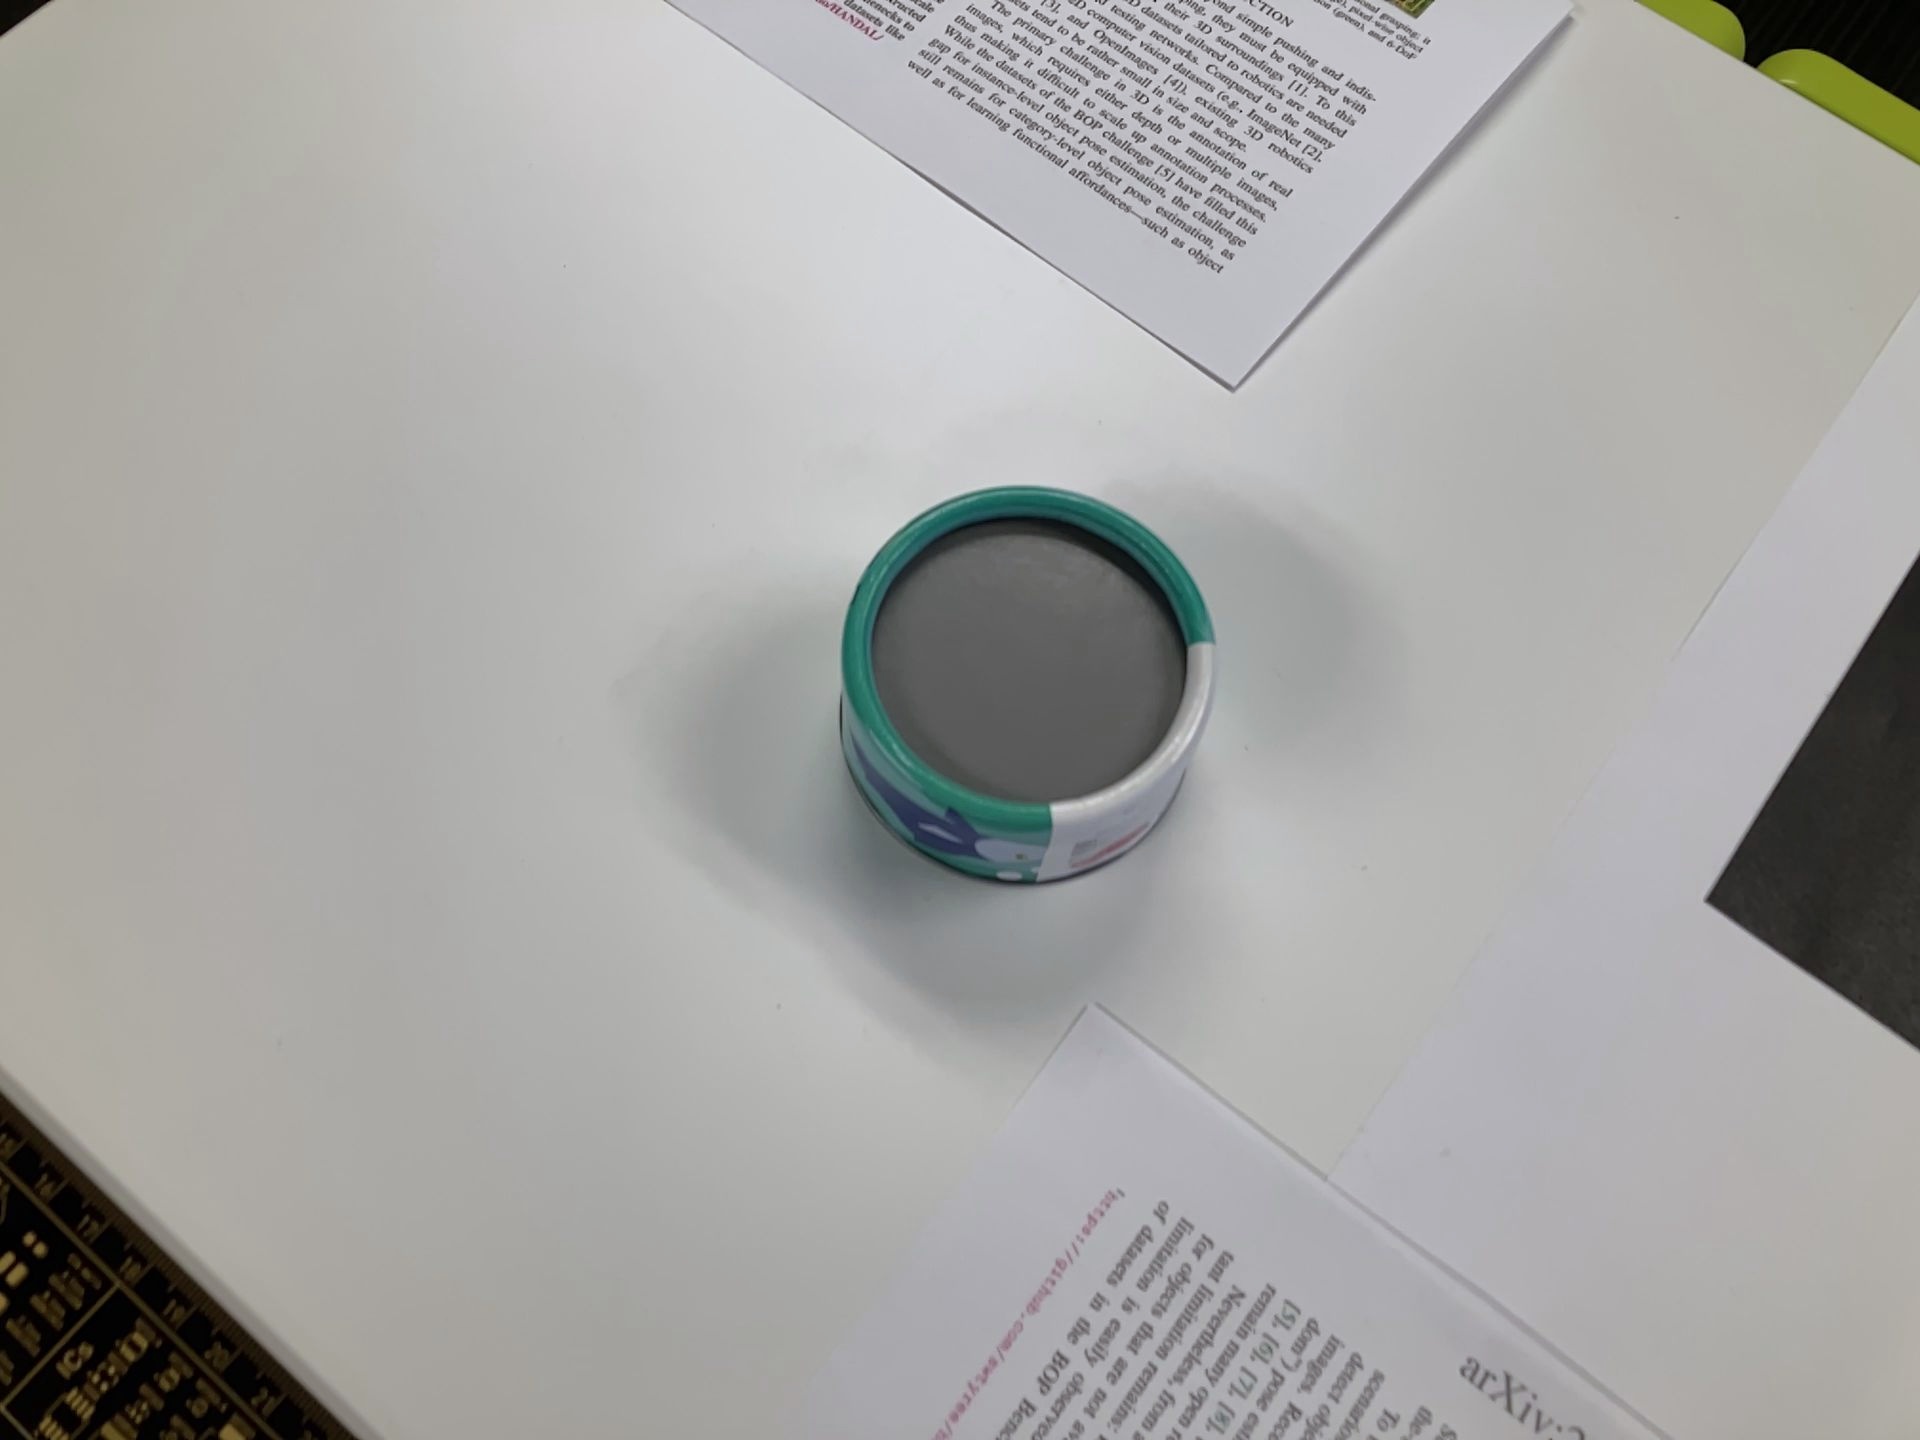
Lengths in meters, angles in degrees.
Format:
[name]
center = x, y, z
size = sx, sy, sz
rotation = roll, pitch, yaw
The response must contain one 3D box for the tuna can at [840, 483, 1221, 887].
[tuna can]
center = 0.010, -0.008, 0.283
size = 0.071, 0.033, 0.071
rotation = 1, 66, -3
